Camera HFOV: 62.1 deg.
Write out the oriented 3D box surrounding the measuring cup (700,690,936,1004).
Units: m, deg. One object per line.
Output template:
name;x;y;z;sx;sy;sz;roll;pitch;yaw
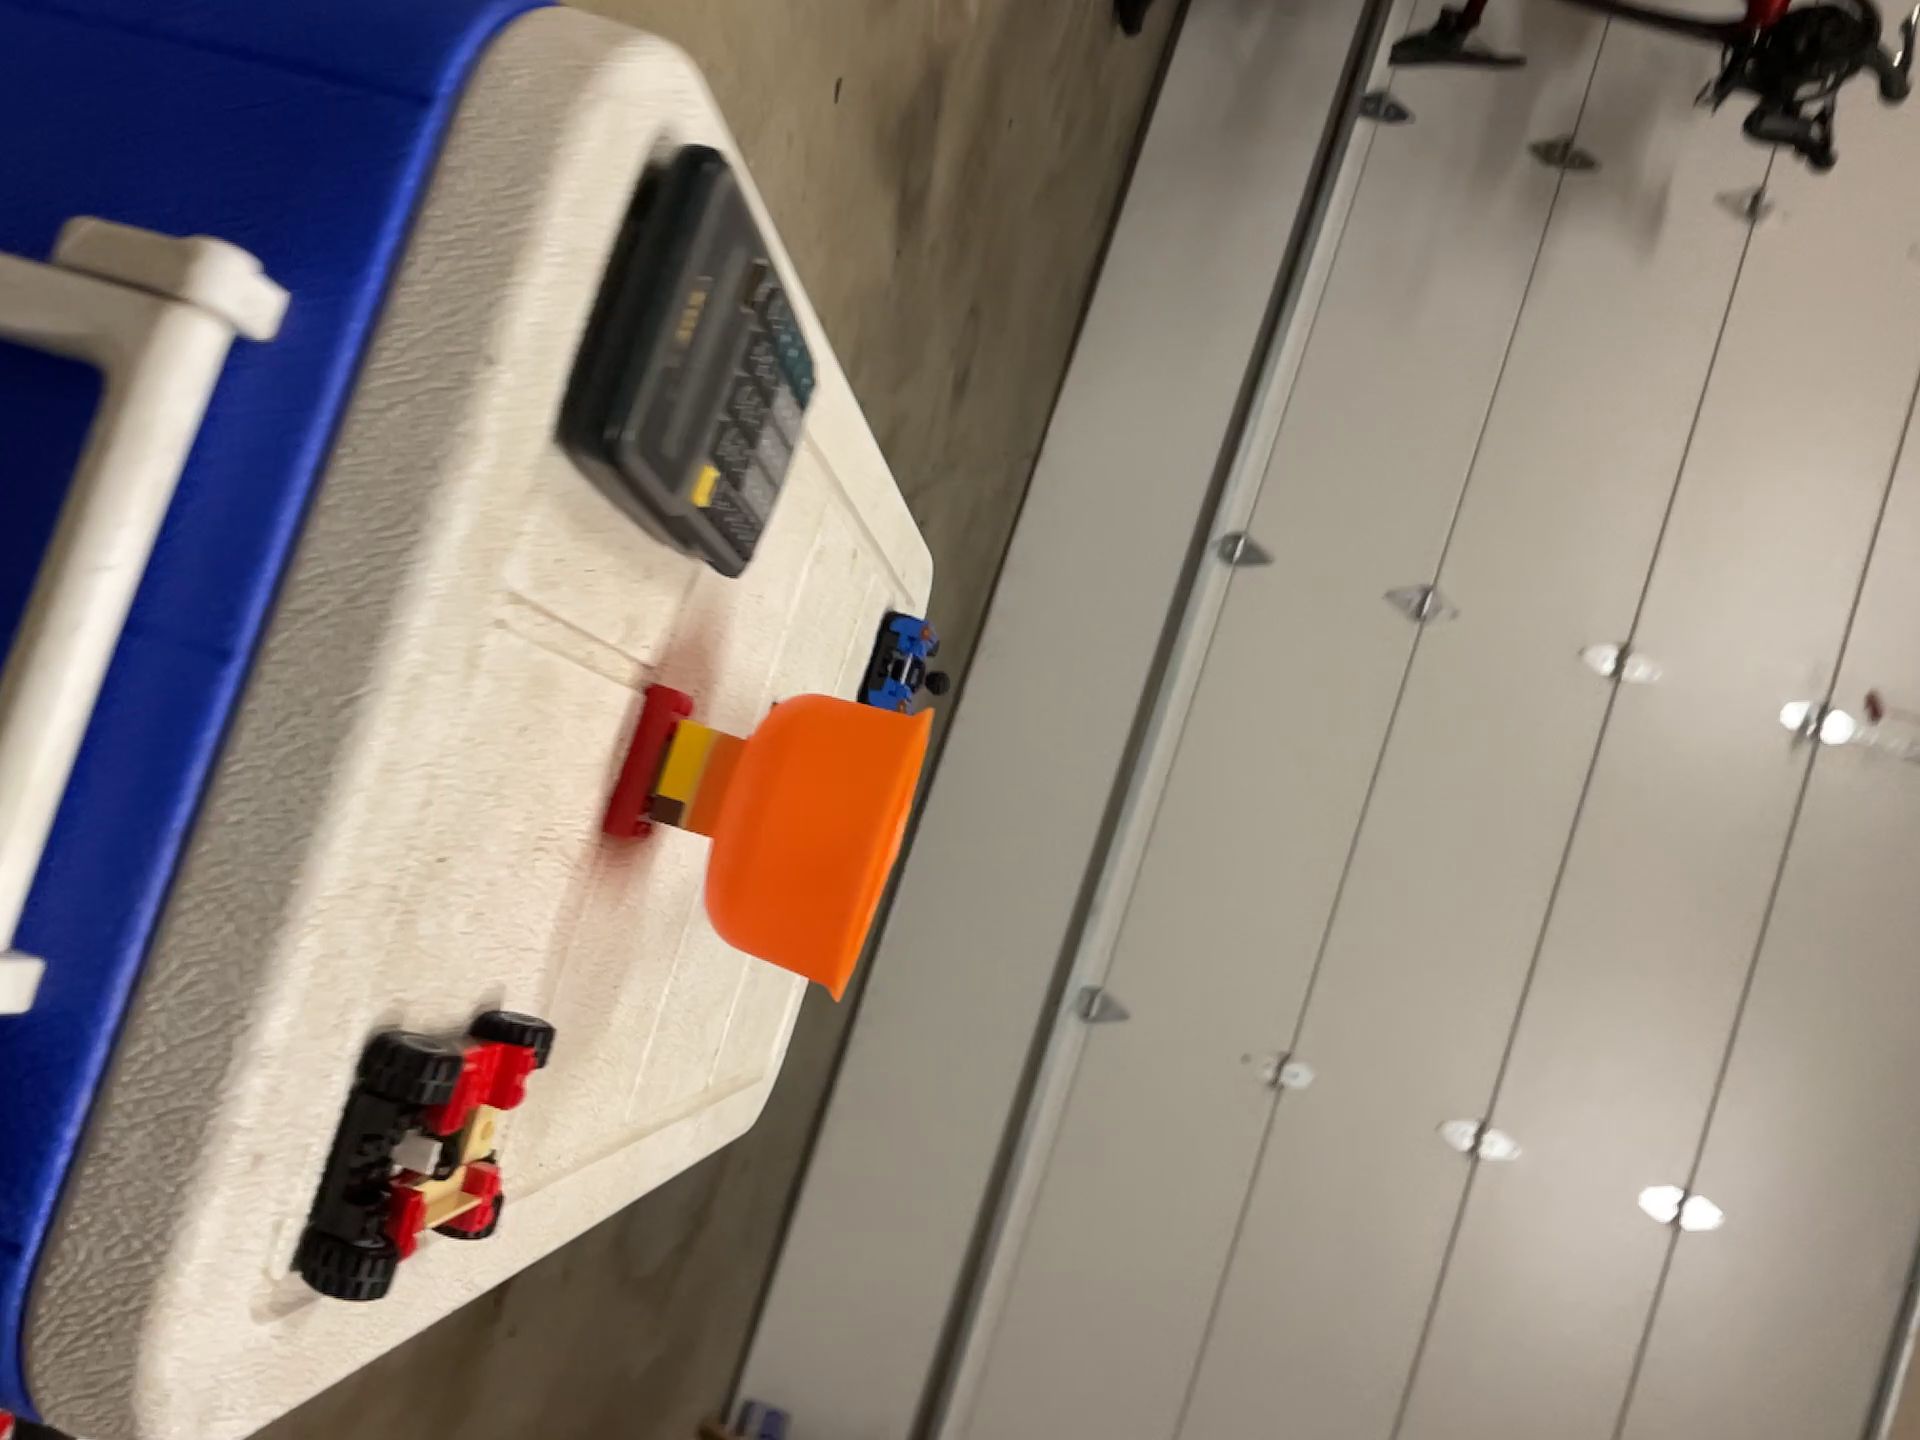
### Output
measuring cup;-0.045;0.035;0.536;0.173;0.052;0.095;22;86;-89
